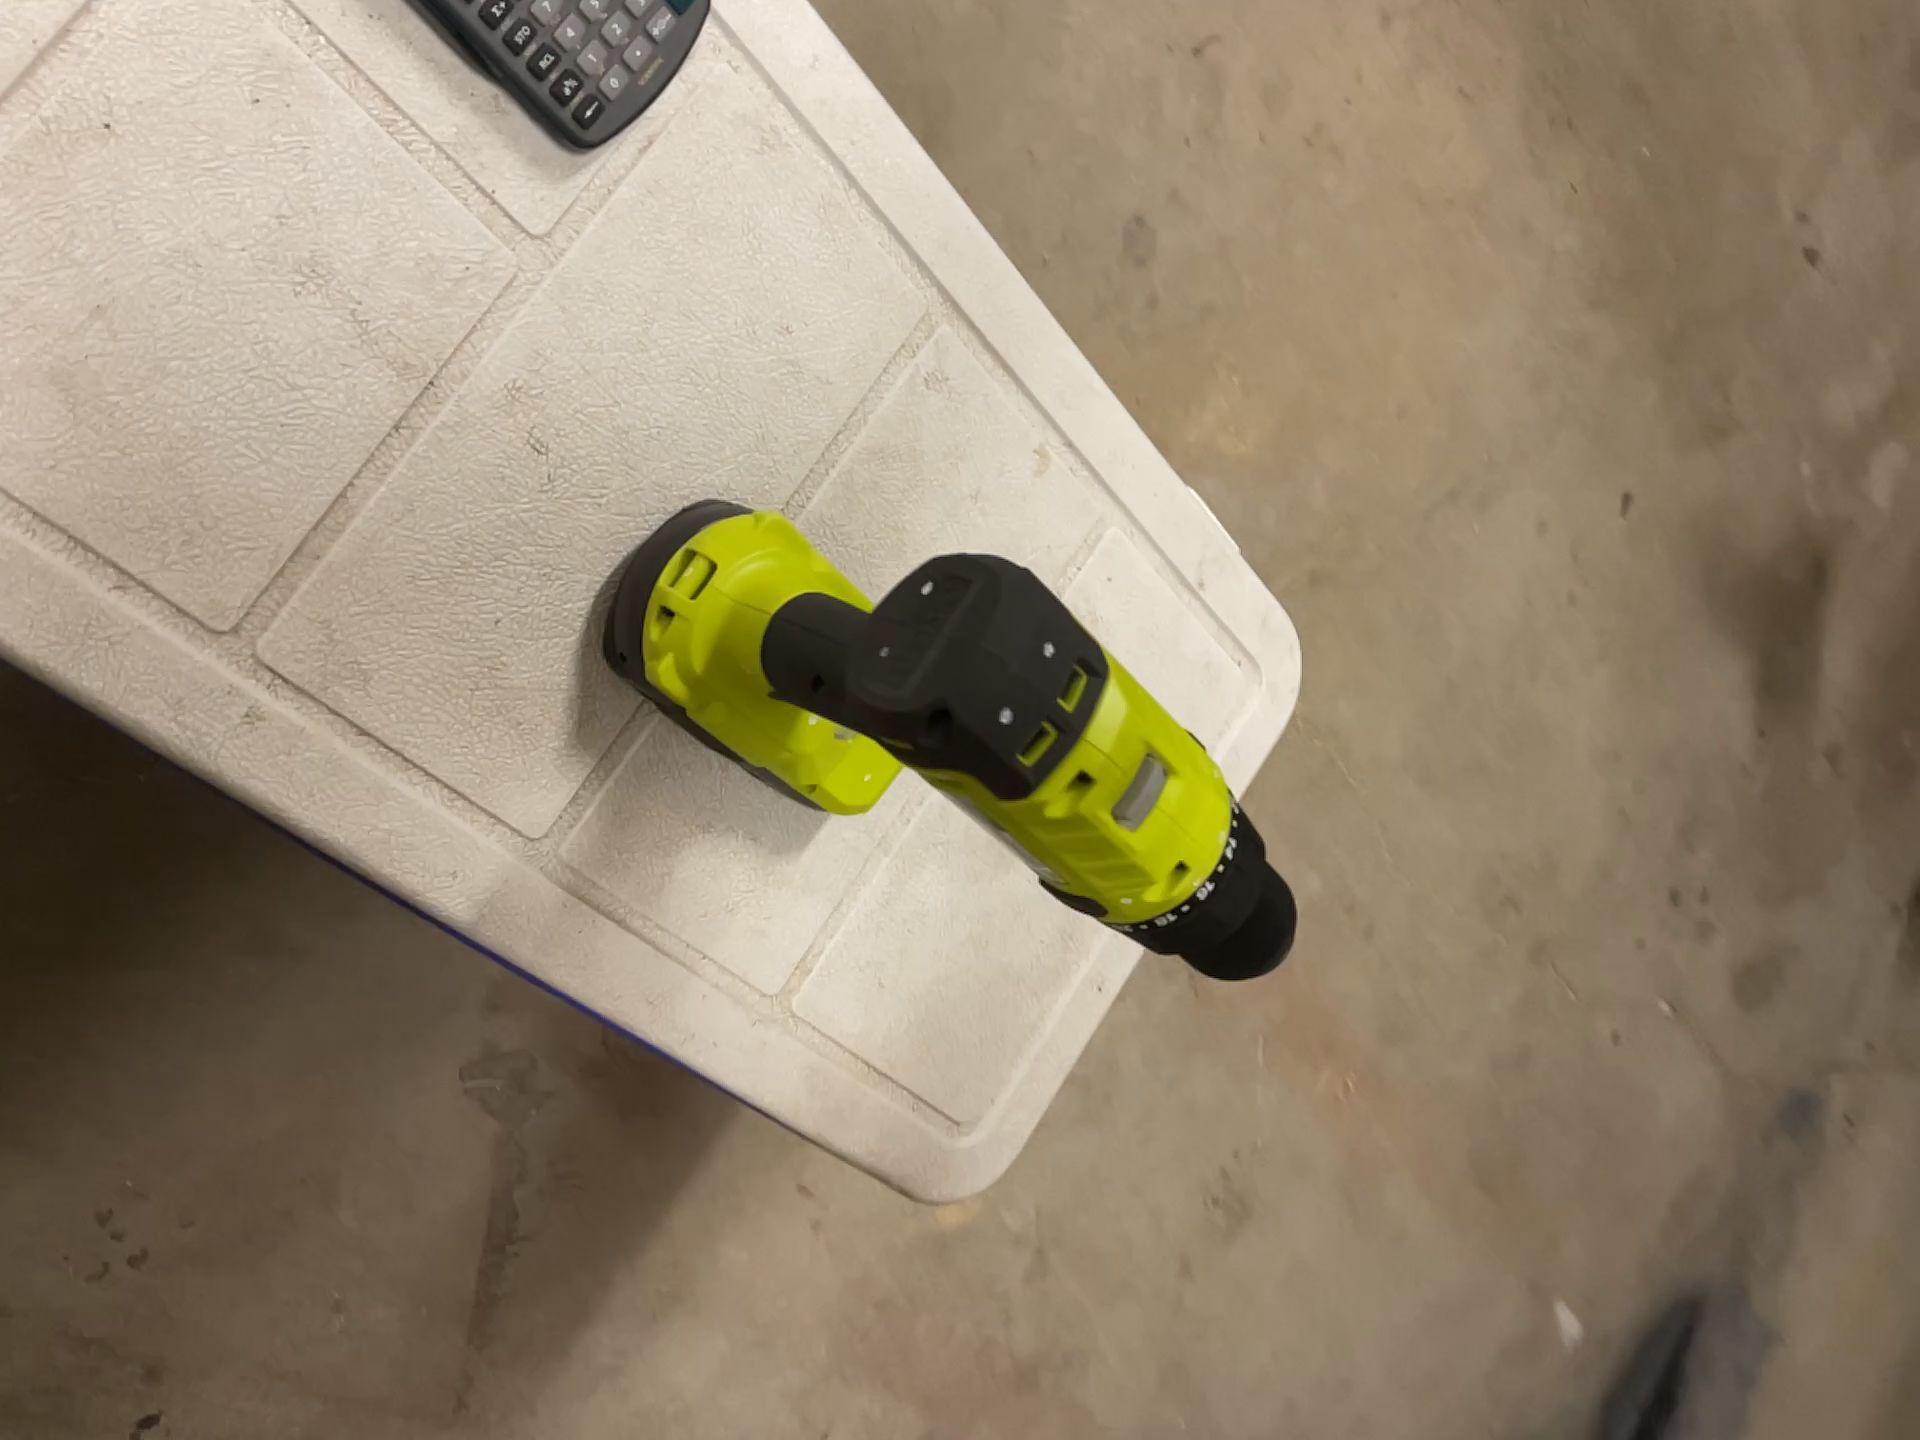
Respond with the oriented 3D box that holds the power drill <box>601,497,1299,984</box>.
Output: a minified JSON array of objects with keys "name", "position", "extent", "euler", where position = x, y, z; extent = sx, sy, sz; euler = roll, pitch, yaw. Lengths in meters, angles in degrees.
[{"name":"power drill","position":[-0.004,0.007,0.534],"extent":[0.190,0.228,0.080],"euler":[42,76,-39]}]
